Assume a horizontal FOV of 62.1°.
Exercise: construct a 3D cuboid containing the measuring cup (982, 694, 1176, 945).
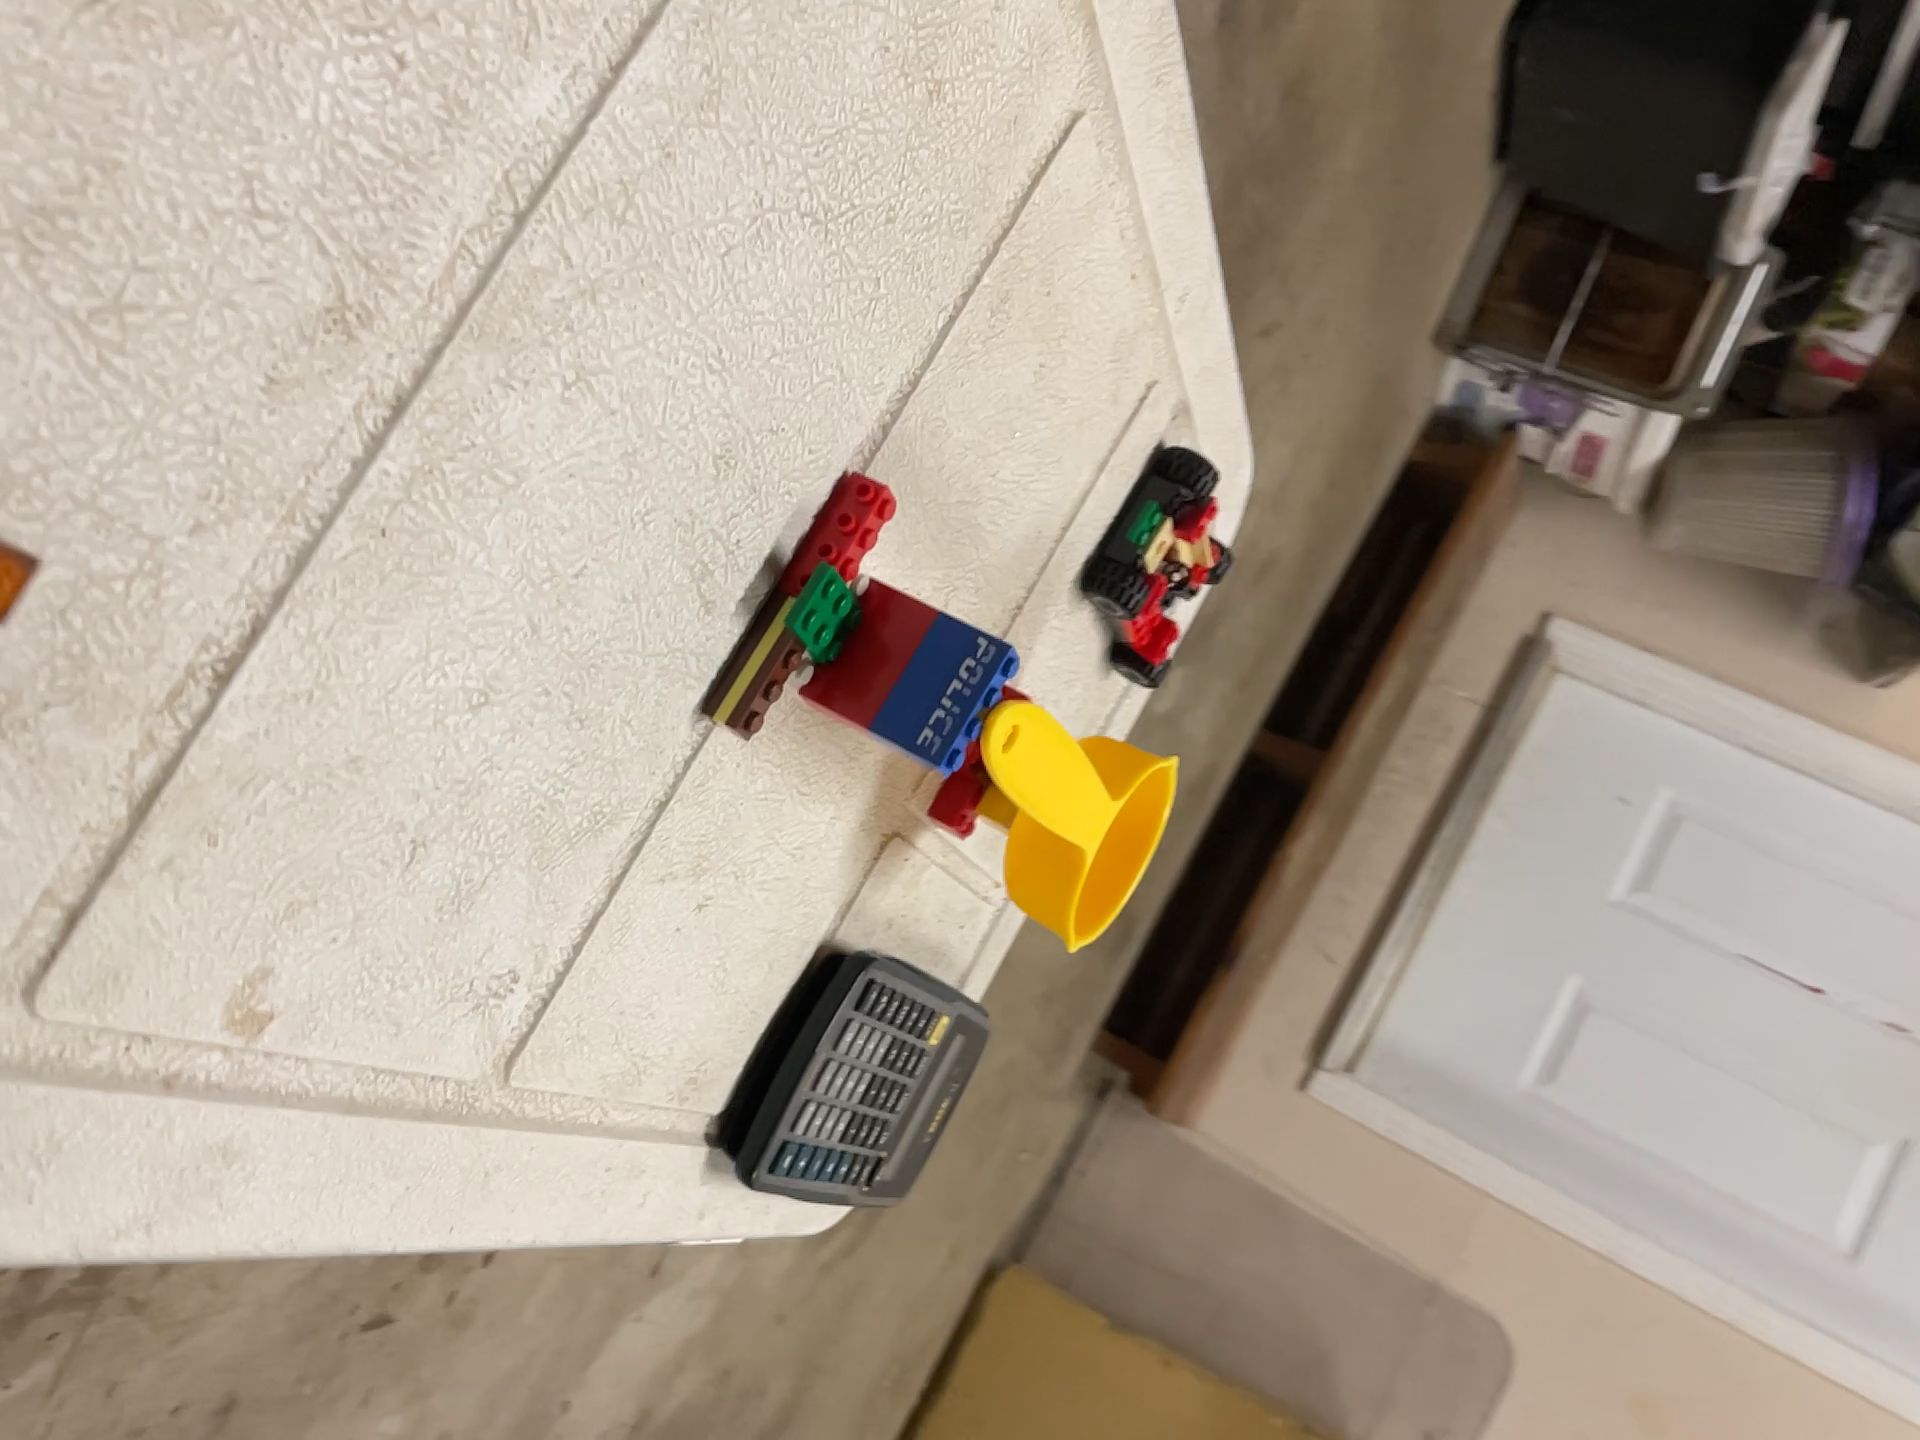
[{"bbox_3d":[0.022,0.018,0.428,0.062,0.029,0.156,-60,155,-7],"label":"measuring cup"}]
